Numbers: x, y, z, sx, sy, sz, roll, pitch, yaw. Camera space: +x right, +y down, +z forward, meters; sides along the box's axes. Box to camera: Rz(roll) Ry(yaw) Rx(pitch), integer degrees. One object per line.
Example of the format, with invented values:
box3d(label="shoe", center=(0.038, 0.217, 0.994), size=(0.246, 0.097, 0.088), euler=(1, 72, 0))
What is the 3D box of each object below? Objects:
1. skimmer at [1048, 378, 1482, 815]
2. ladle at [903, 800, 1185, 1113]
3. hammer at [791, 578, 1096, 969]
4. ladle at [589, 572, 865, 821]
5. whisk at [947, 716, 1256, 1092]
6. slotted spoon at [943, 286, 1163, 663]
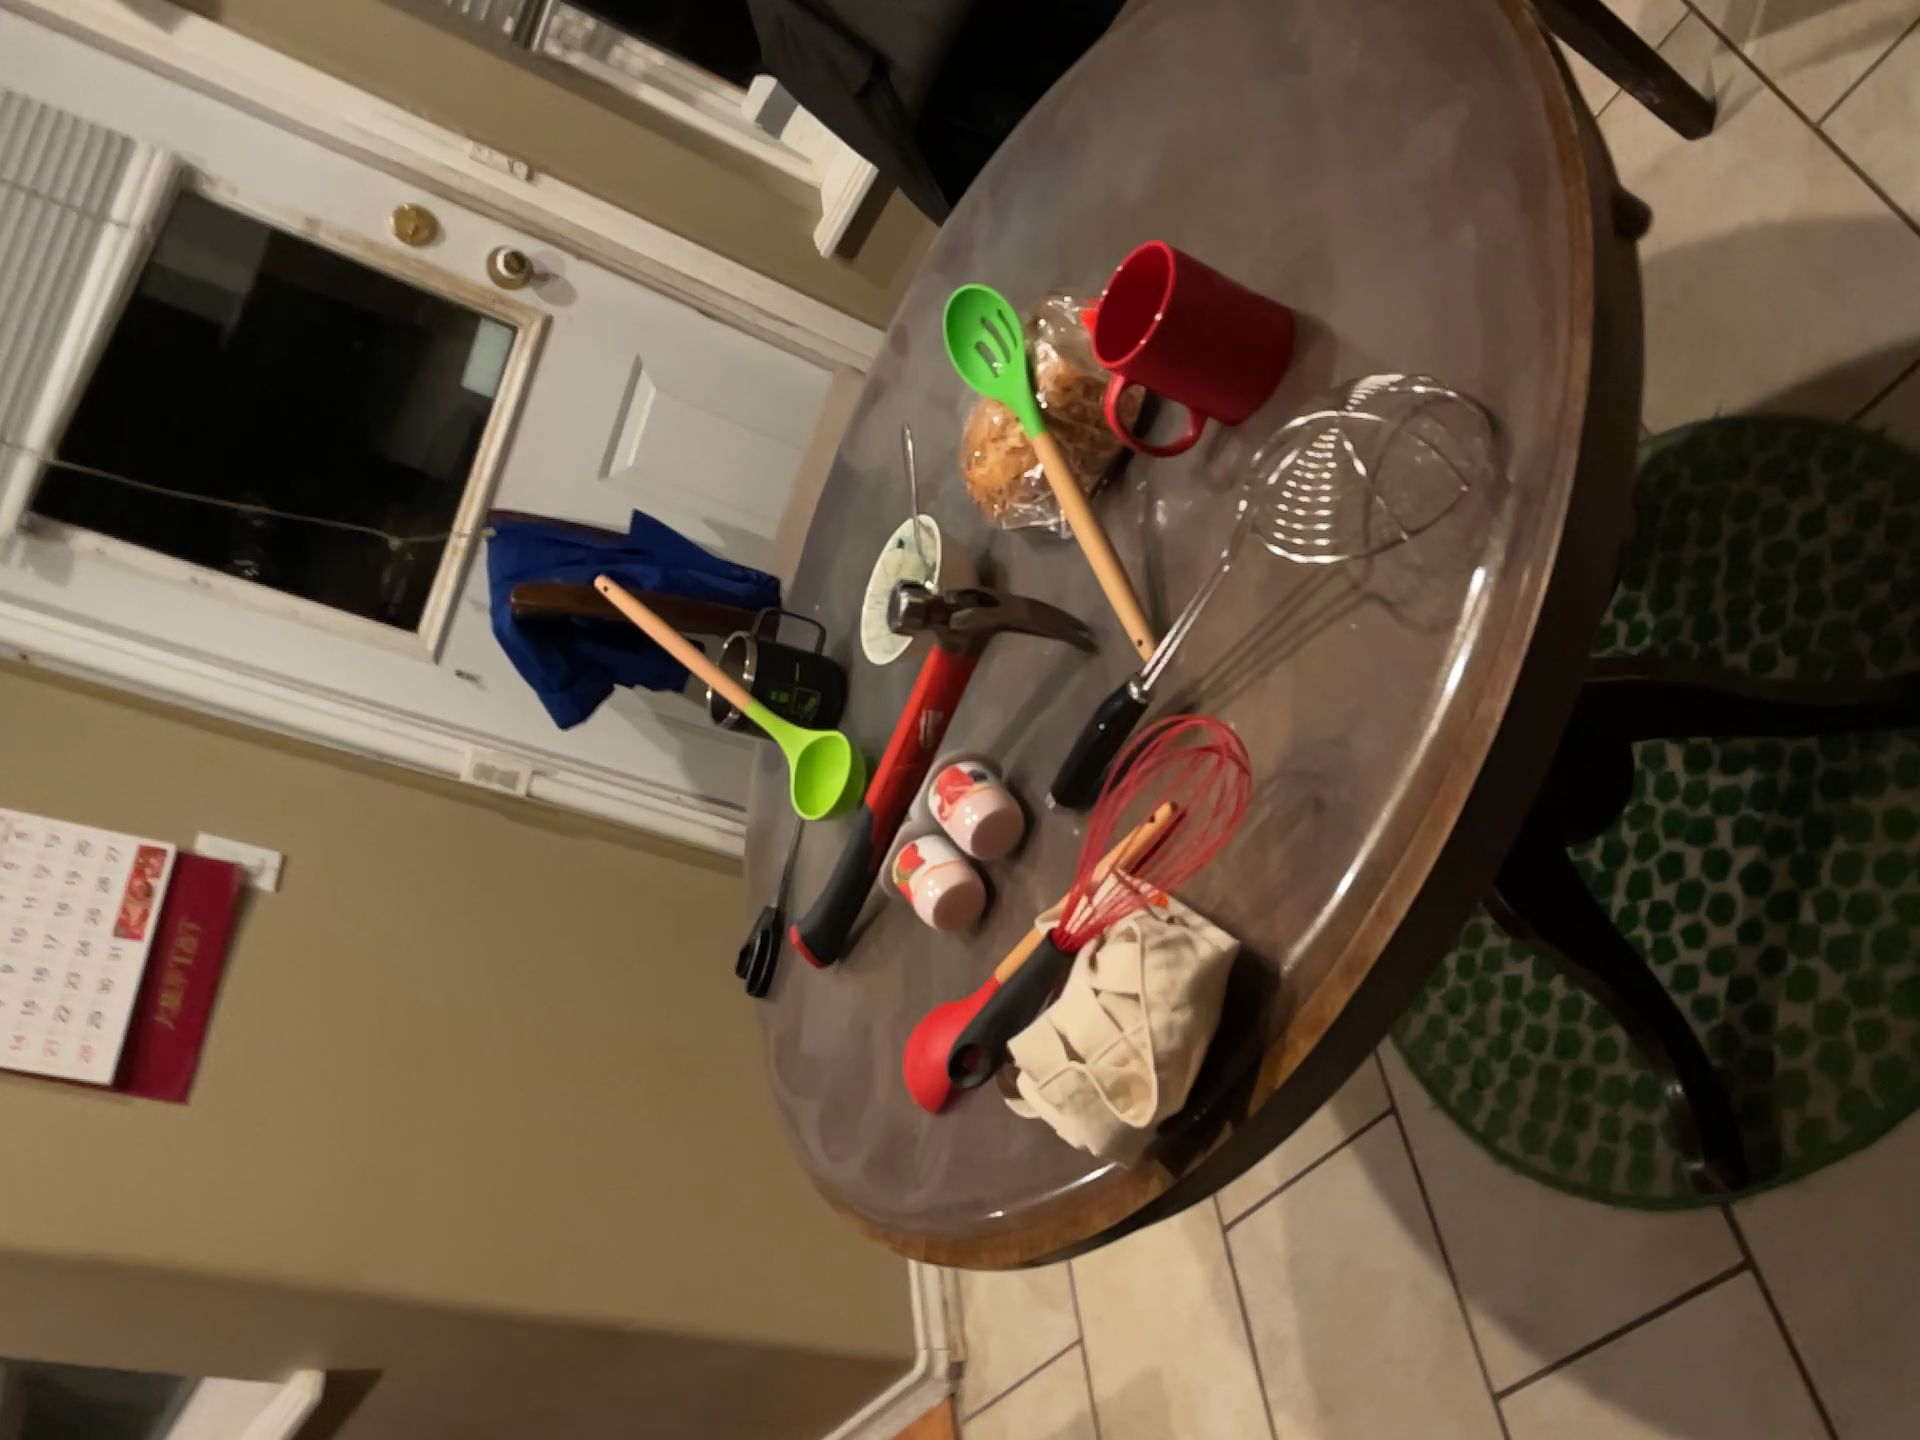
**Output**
box3d(label="skimmer", center=(0.160, -0.050, 0.925), size=(0.363, 0.090, 0.127), euler=(120, 160, -44))
box3d(label="ladle", center=(0.045, 0.154, 1.021), size=(0.315, 0.031, 0.069), euler=(-50, 35, 32))
box3d(label="hammer", center=(-0.035, 0.057, 1.174), size=(0.038, 0.143, 0.386), euler=(-100, 27, -45))
box3d(label="ladle", center=(-0.208, -0.029, 1.360), size=(0.078, 0.320, 0.062), euler=(-54, -13, 11))
box3d(label="whisk", center=(0.070, 0.113, 0.889), size=(0.296, 0.073, 0.073), euler=(-56, 32, 28))
box3d(label="slotted spoon", center=(0.065, -0.166, 1.062), size=(0.070, 0.031, 0.314), euler=(-49, 57, 45))
